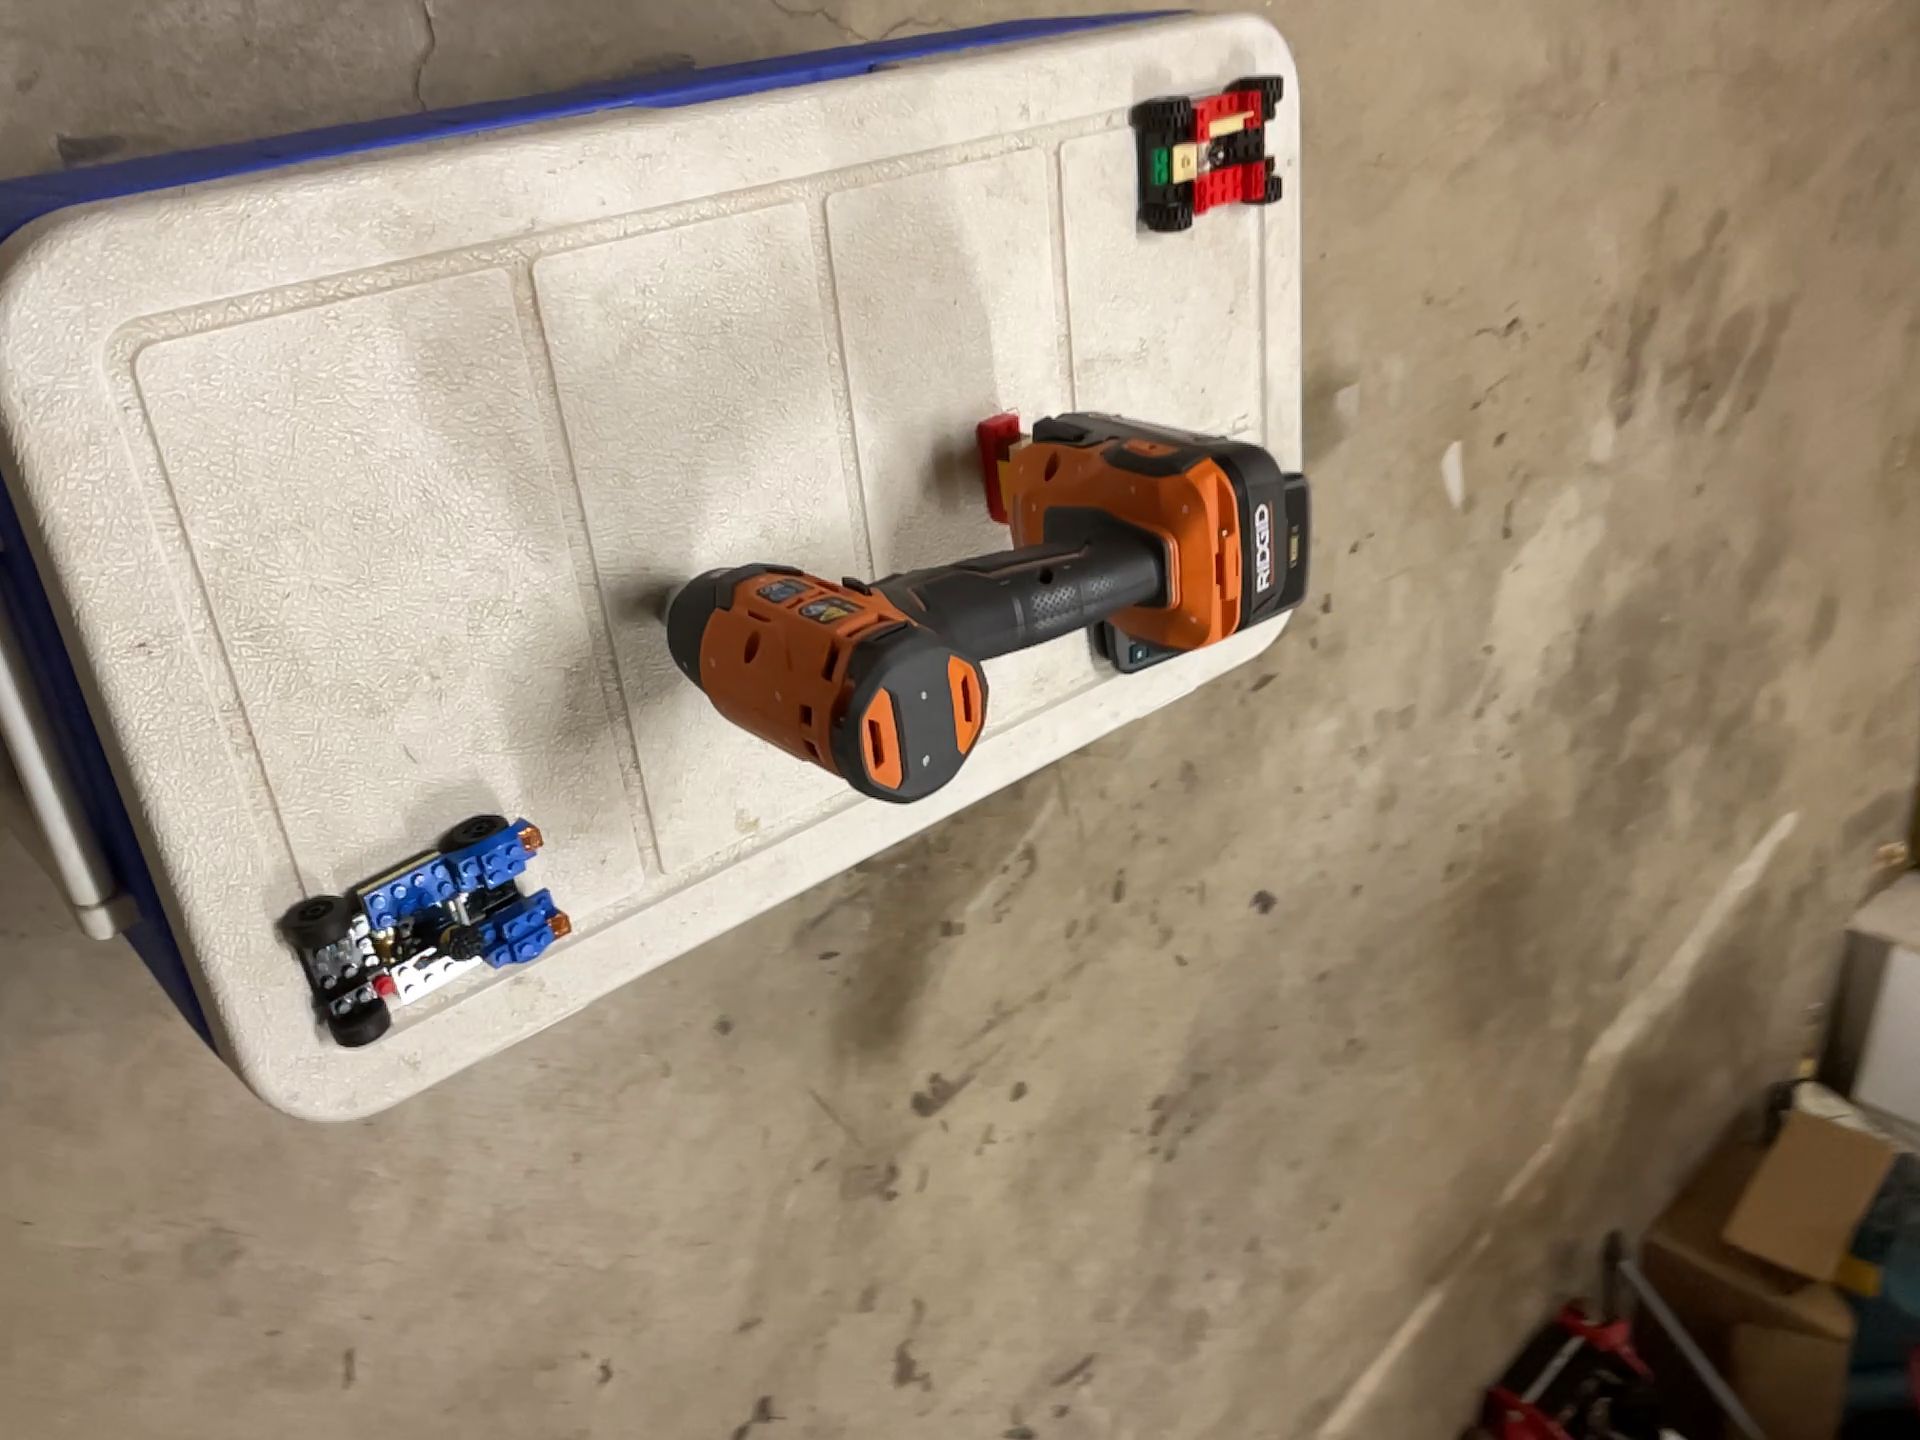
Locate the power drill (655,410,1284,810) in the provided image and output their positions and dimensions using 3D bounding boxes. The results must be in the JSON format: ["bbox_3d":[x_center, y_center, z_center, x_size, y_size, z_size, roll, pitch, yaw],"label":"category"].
[{"bbox_3d":[-0.001,-0.053,0.624,0.226,0.164,0.084,-26,123,-33],"label":"power drill"}]
